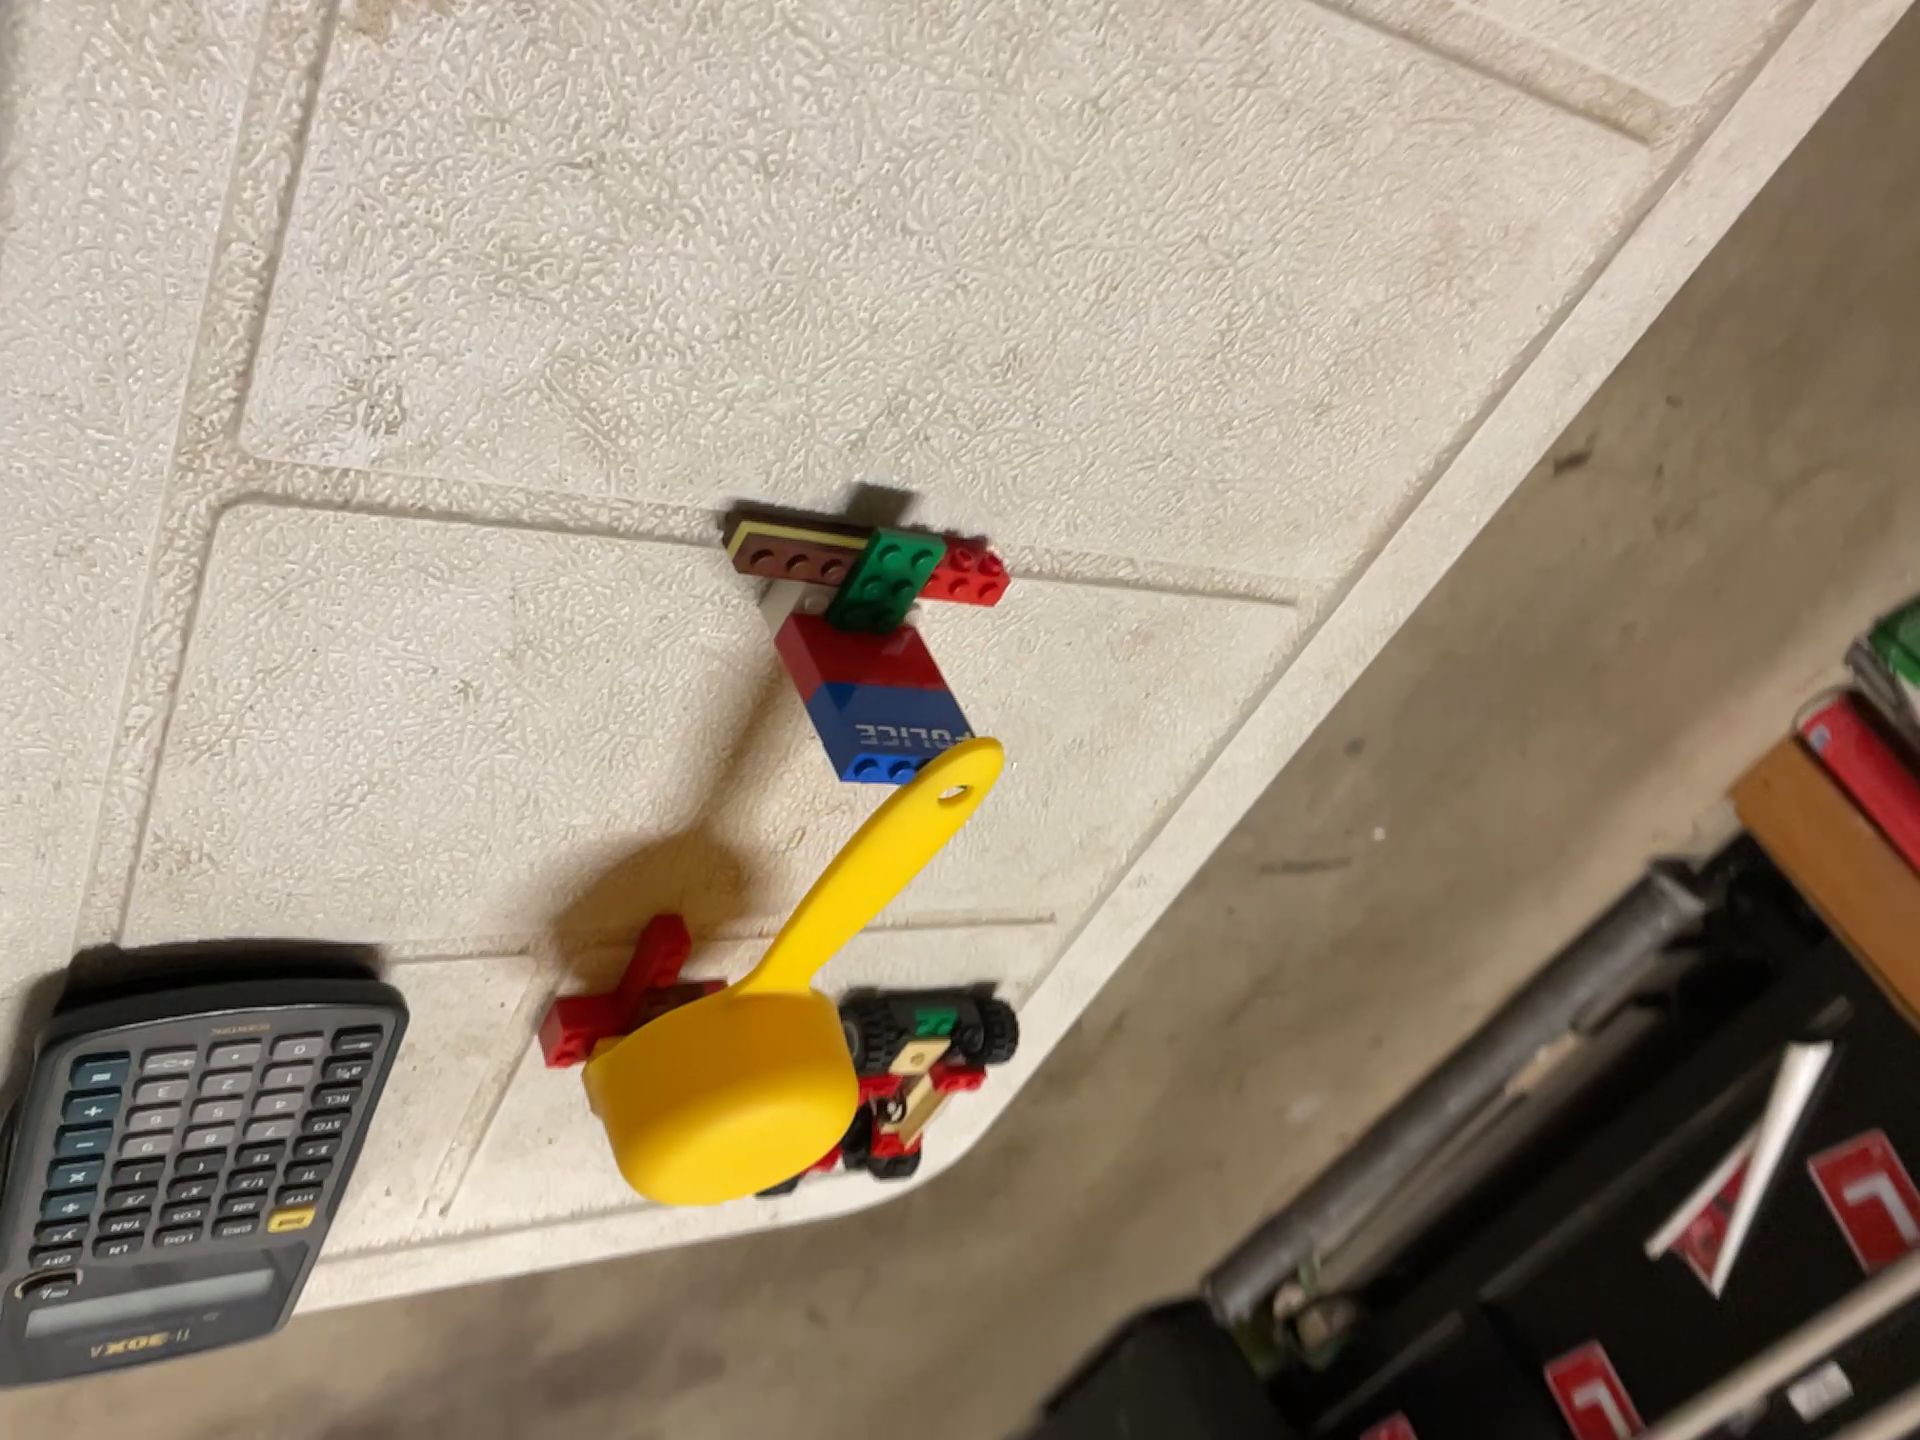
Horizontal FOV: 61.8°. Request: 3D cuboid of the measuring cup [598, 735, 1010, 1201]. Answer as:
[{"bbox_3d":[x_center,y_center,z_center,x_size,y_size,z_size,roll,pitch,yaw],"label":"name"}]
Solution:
[{"bbox_3d":[-0.029,0.060,0.347,0.062,0.029,0.156,3,140,-37],"label":"measuring cup"}]
